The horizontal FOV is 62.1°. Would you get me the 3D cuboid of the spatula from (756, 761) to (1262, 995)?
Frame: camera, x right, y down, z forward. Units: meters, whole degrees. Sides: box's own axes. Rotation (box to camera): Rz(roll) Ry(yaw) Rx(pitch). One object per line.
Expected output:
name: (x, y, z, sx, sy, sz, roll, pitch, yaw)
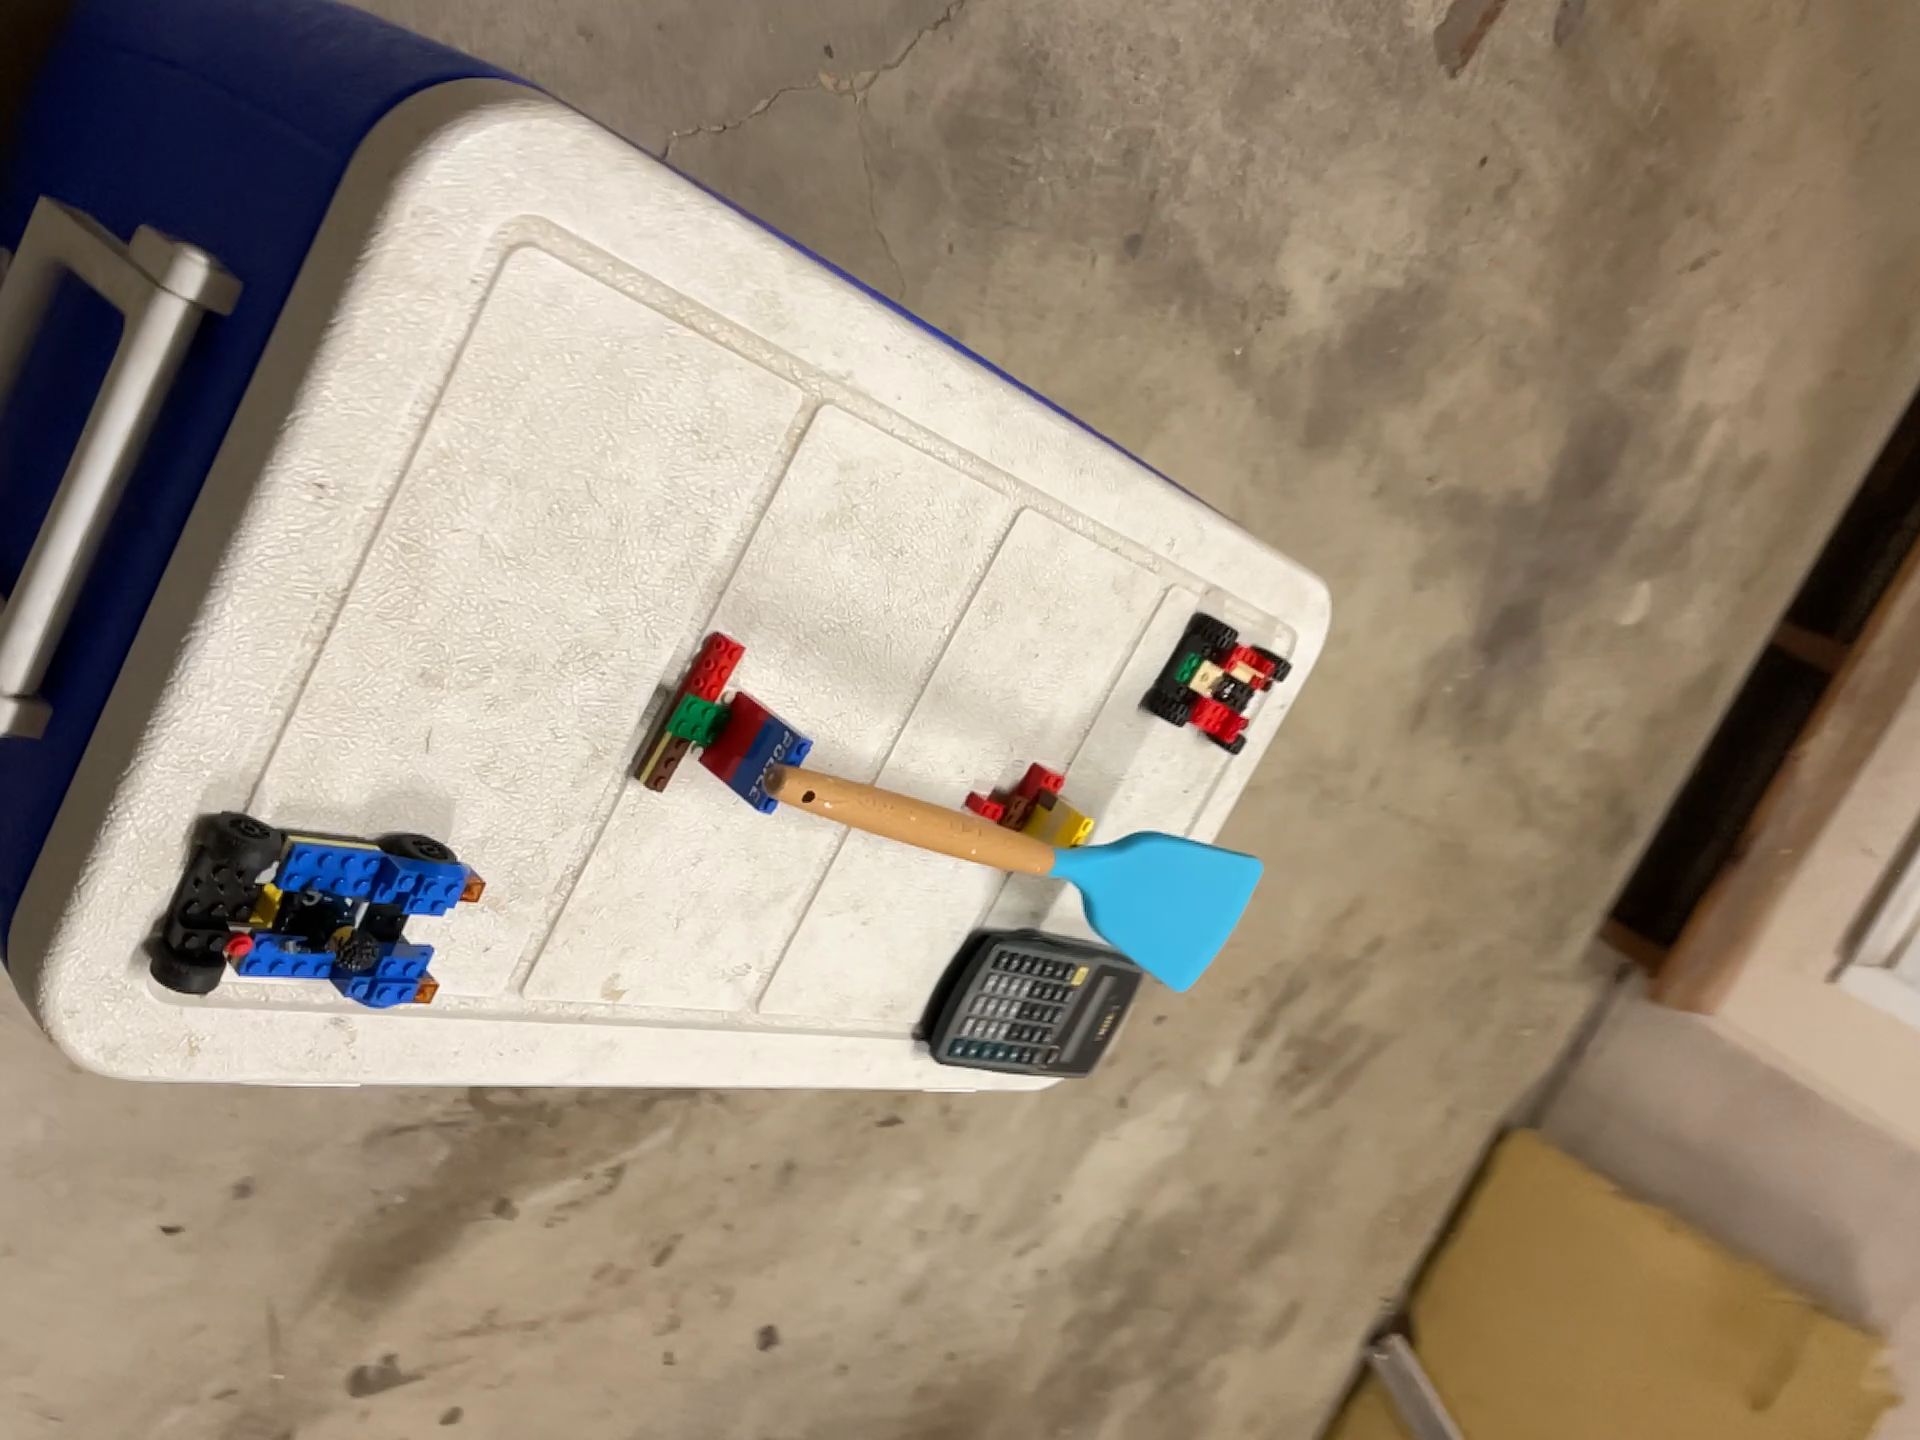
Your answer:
spatula: (0.028, 0.060, 0.685, 0.317, 0.044, 0.082, 21, 103, -52)
